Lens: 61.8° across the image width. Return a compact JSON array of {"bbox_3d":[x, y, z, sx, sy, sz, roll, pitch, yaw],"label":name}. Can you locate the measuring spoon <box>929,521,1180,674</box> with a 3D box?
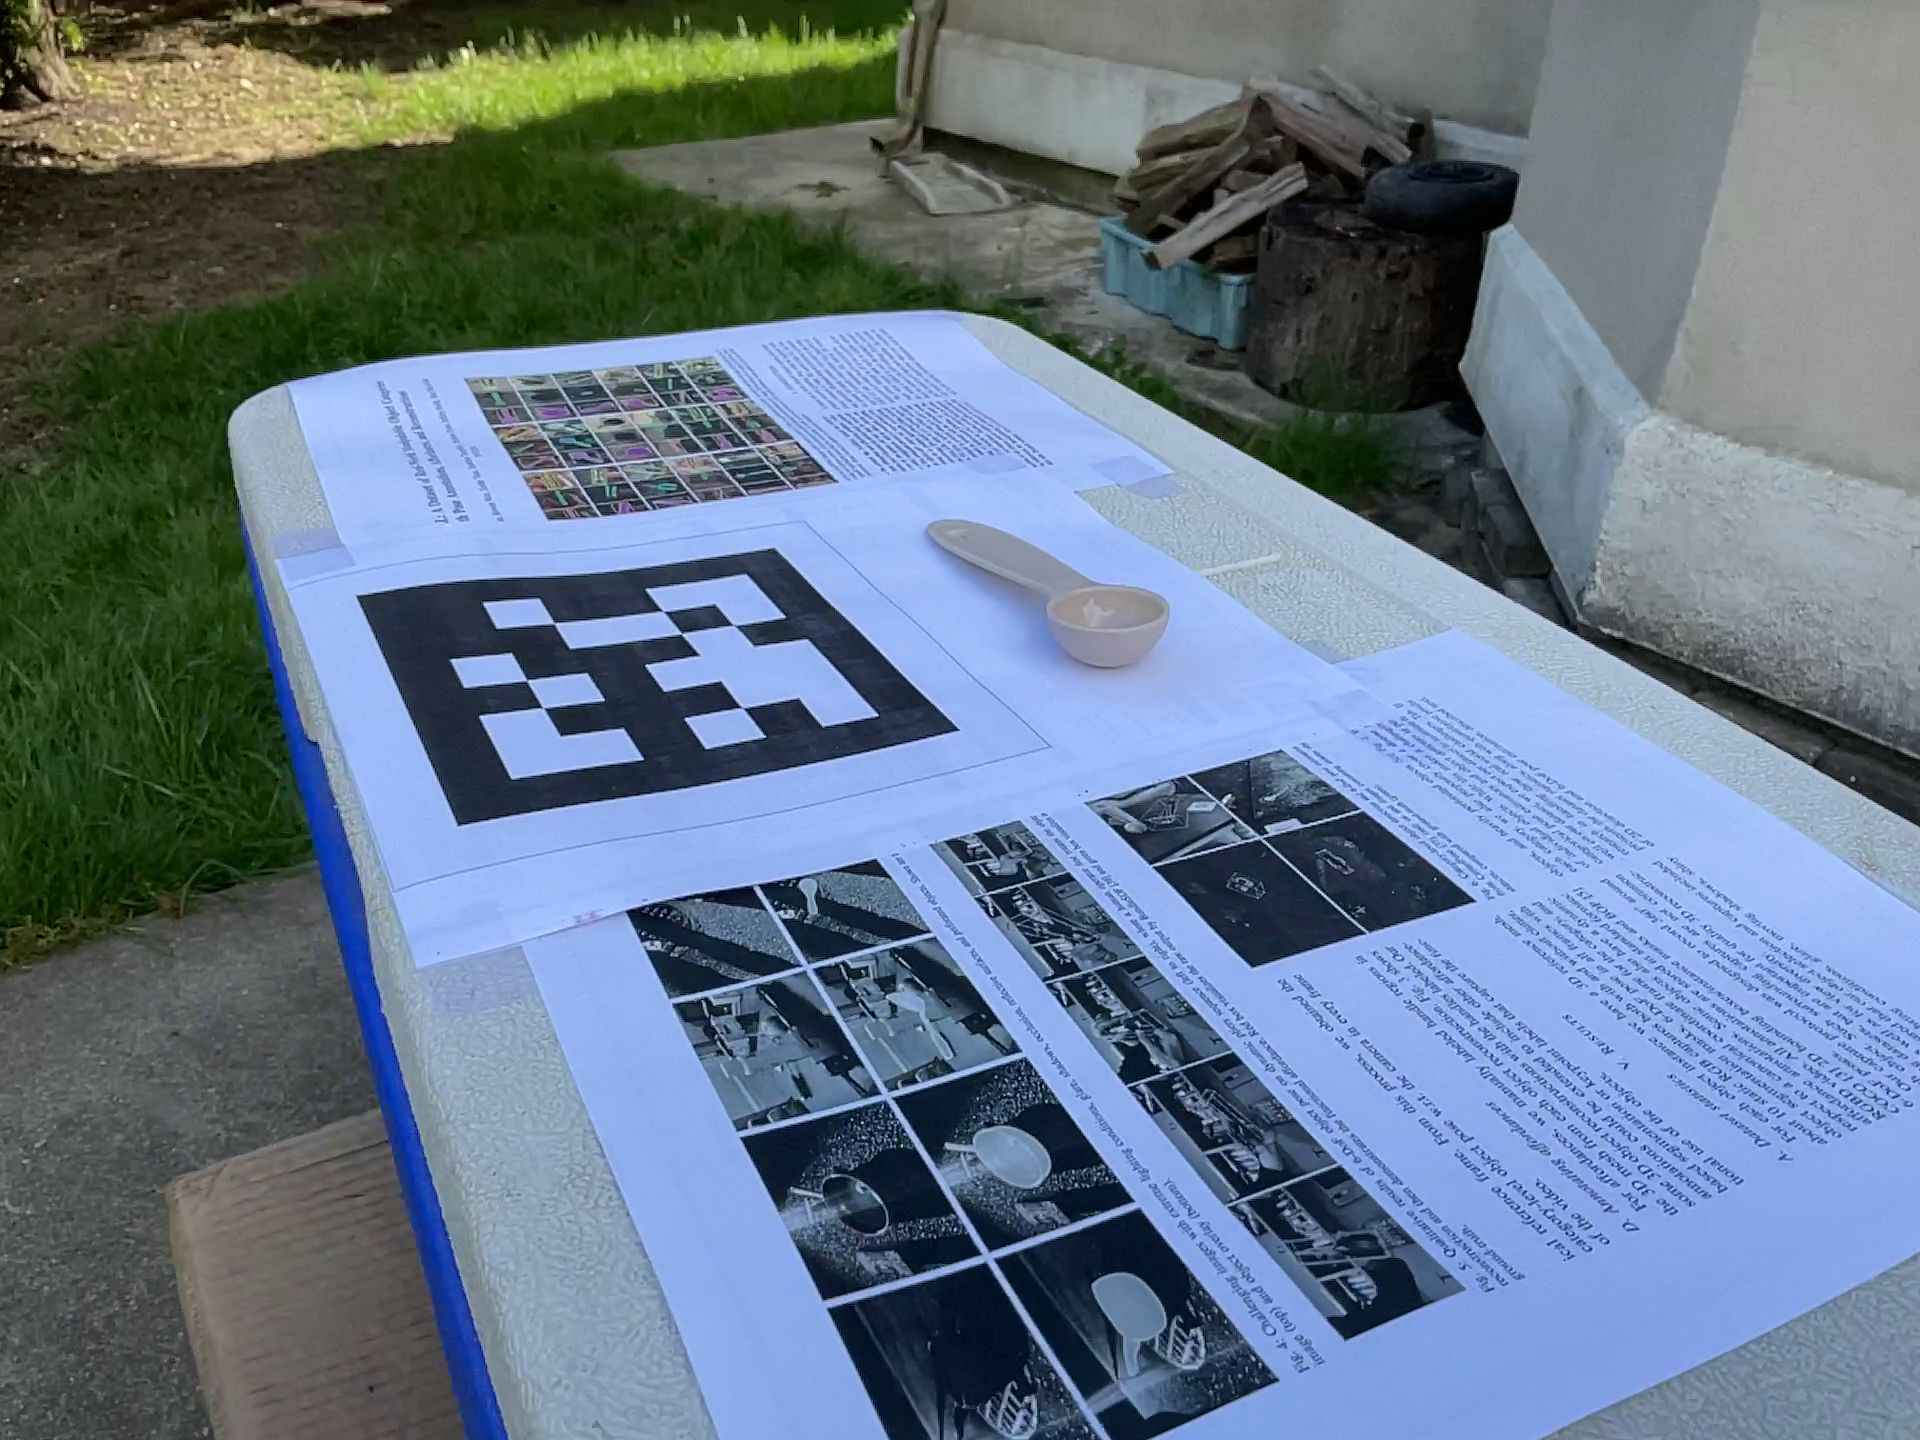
[{"bbox_3d":[0.022,-0.038,0.473,0.034,0.018,0.124,-14,26,-23],"label":"measuring spoon"}]
